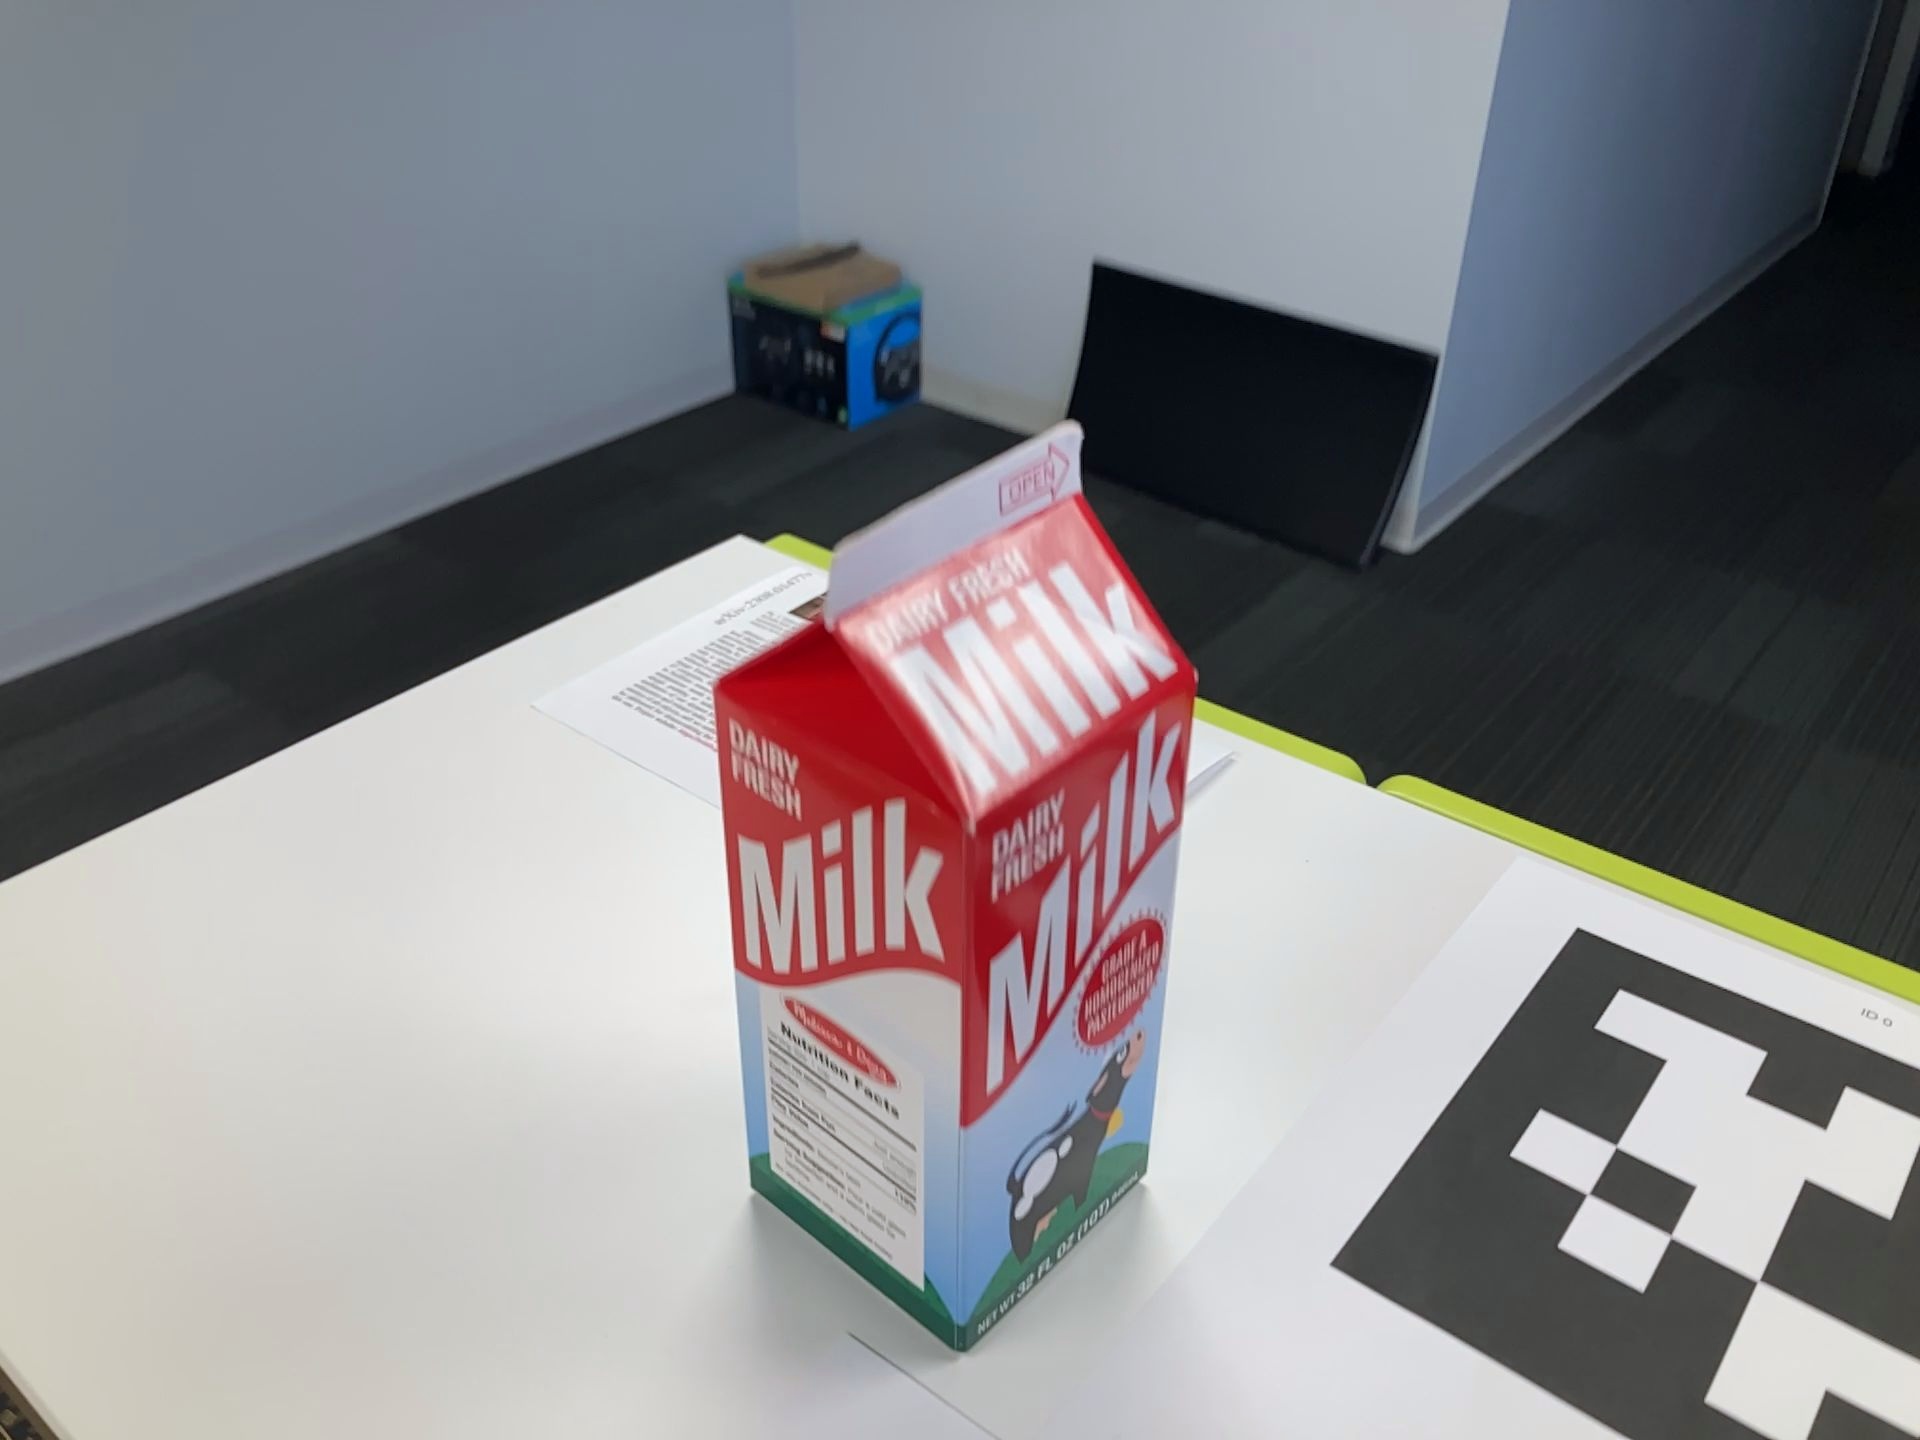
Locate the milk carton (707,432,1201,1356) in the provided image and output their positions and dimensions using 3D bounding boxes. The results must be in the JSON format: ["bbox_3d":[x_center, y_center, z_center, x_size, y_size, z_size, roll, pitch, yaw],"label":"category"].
[{"bbox_3d":[-0.001,0.036,0.343,0.073,0.190,0.072,27,41,34],"label":"milk carton"}]
